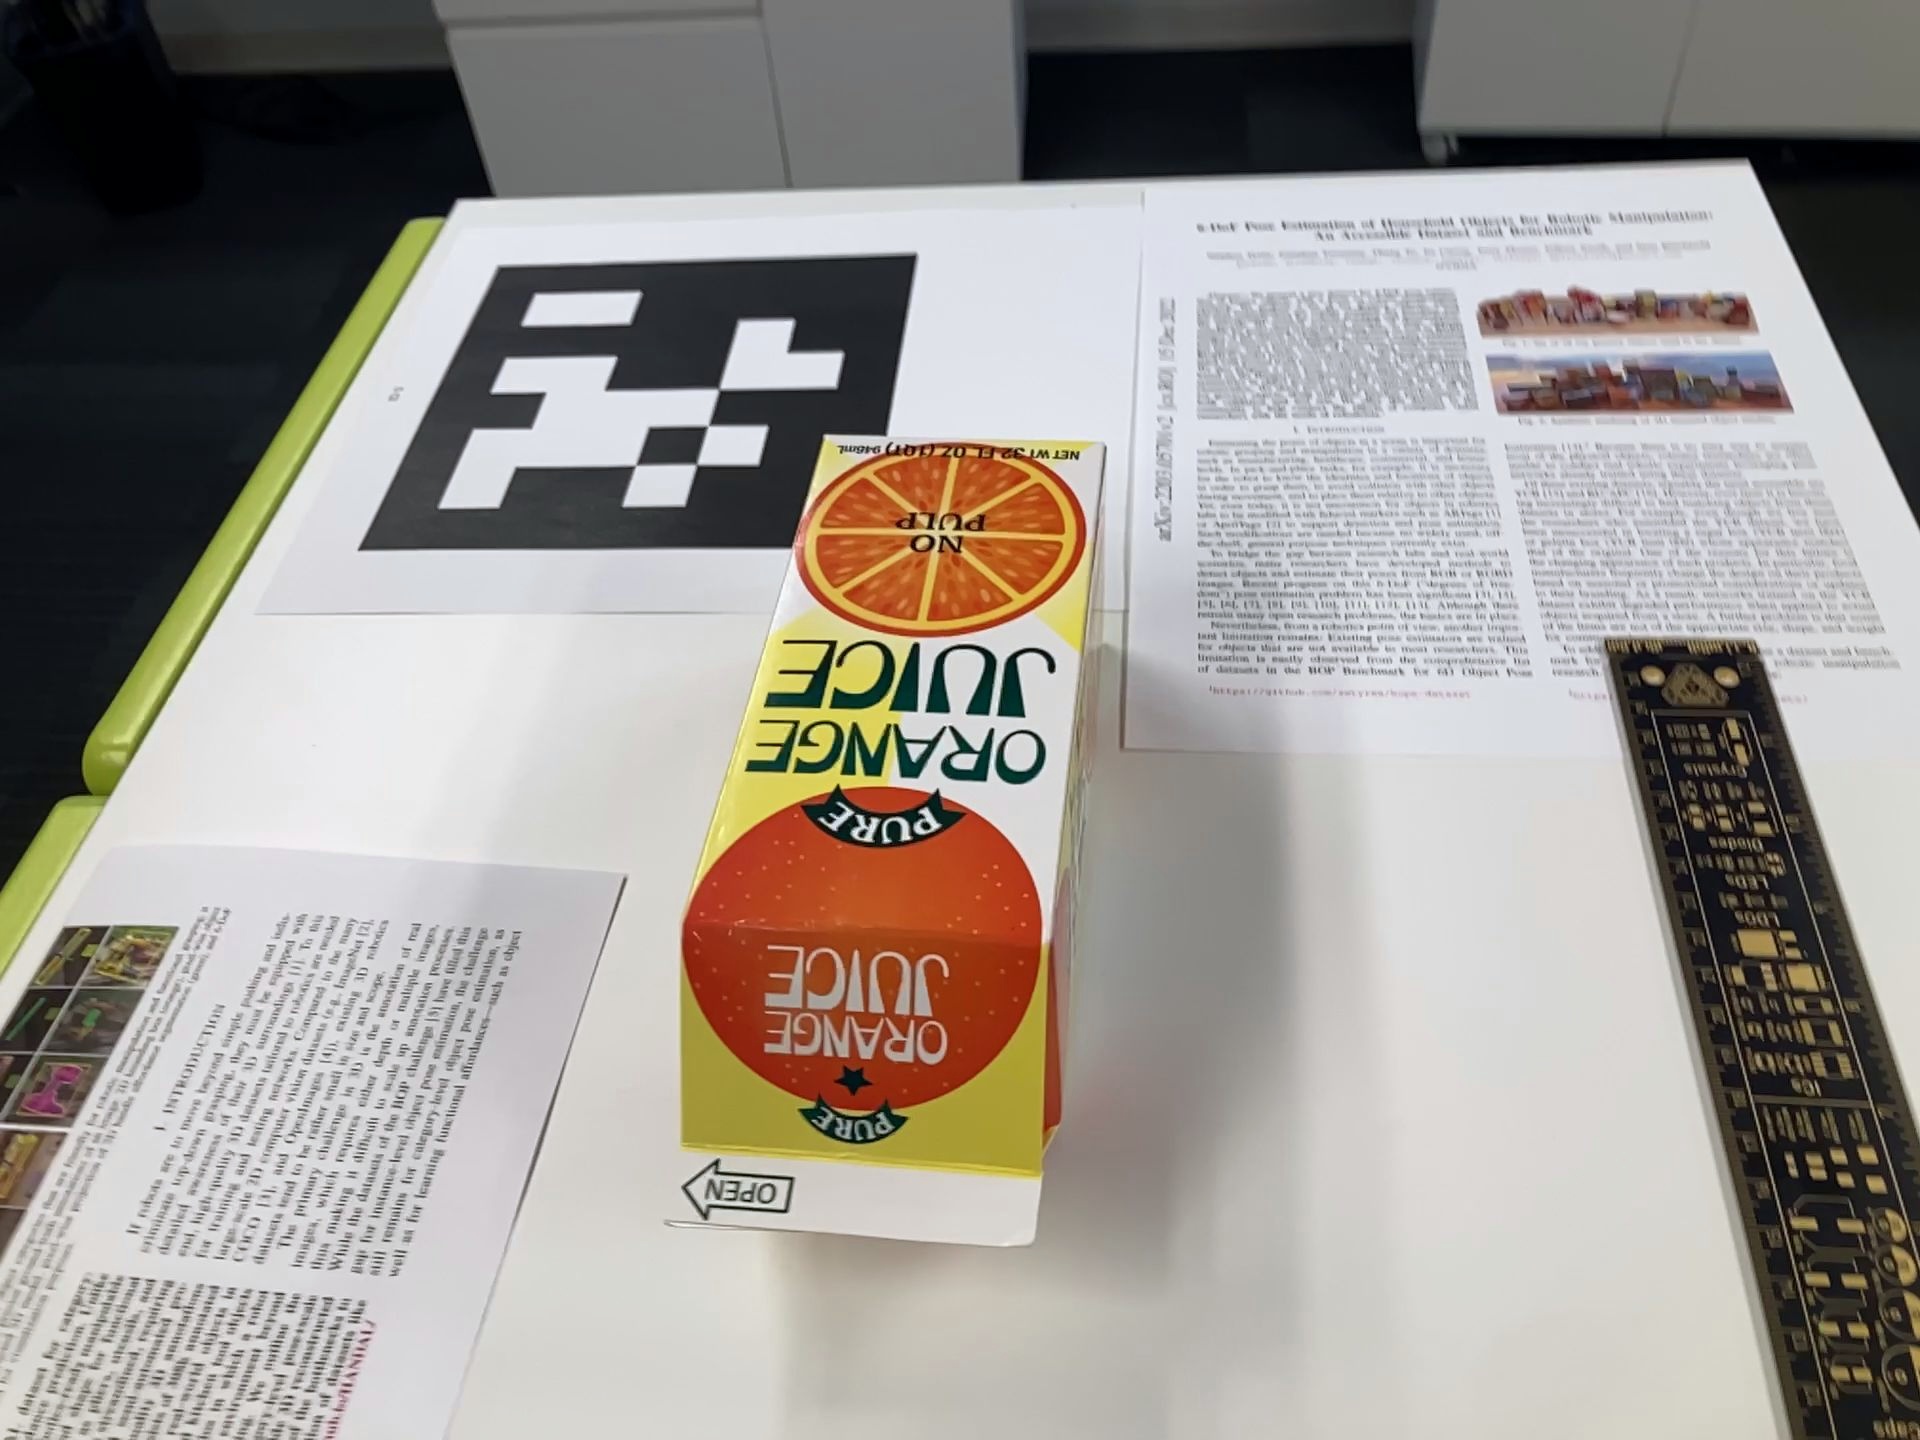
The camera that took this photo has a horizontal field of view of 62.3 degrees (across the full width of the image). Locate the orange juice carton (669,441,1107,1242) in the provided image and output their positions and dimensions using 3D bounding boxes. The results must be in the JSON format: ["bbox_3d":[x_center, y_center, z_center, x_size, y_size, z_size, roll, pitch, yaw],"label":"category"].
[{"bbox_3d":[-0.009,0.024,0.358,0.072,0.073,0.192,3,48,8],"label":"orange juice carton"}]
